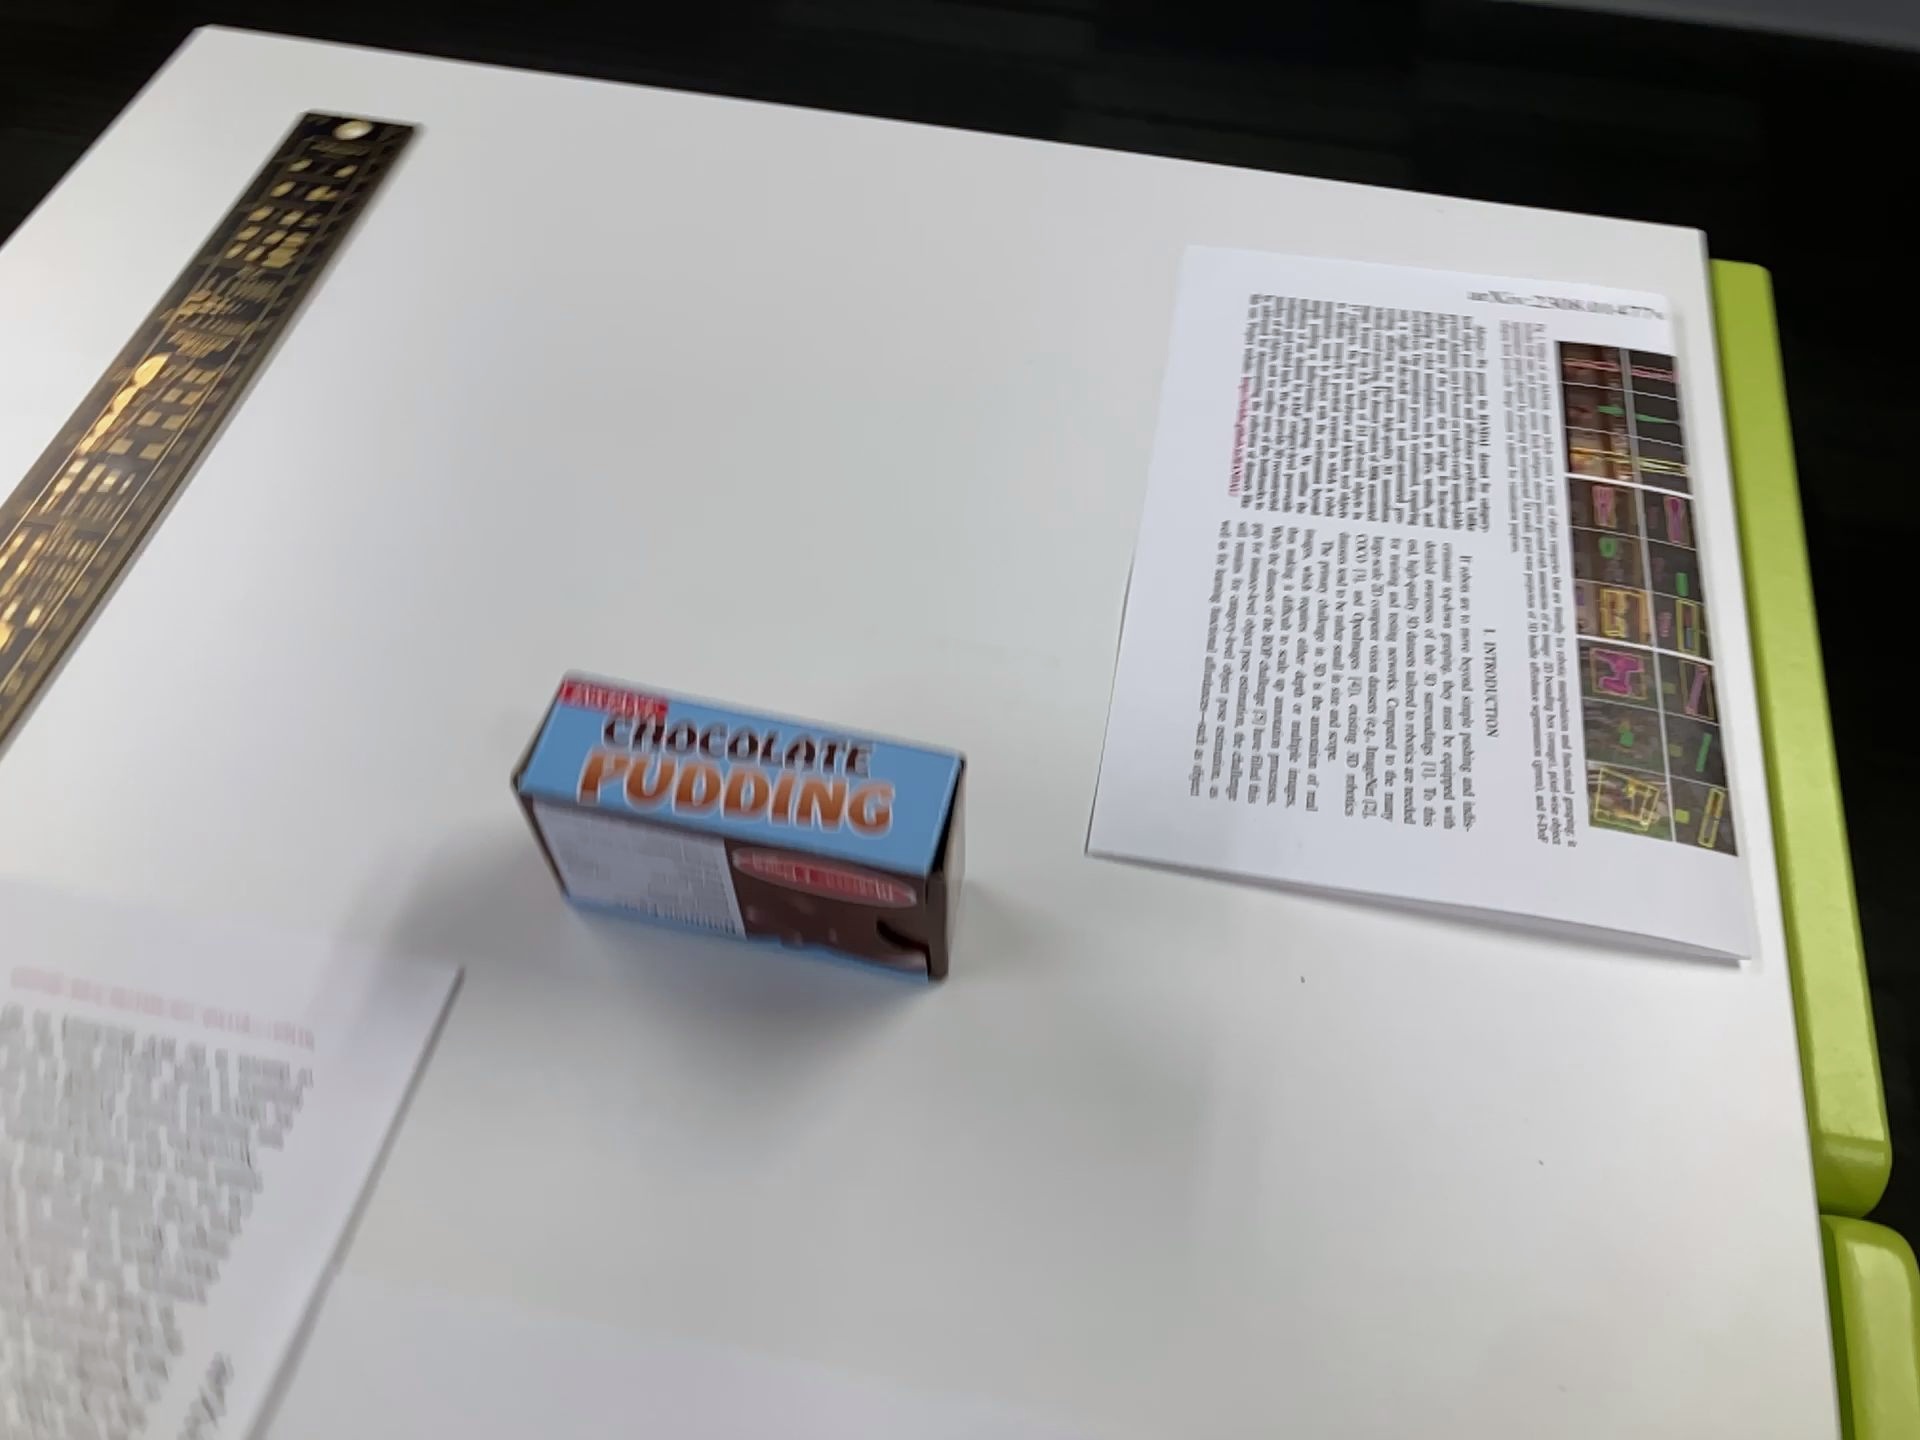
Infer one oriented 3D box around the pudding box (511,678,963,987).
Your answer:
[{"bbox_3d":[-0.042,0.024,0.321,0.083,0.049,0.030,11,56,7],"label":"pudding box"}]
